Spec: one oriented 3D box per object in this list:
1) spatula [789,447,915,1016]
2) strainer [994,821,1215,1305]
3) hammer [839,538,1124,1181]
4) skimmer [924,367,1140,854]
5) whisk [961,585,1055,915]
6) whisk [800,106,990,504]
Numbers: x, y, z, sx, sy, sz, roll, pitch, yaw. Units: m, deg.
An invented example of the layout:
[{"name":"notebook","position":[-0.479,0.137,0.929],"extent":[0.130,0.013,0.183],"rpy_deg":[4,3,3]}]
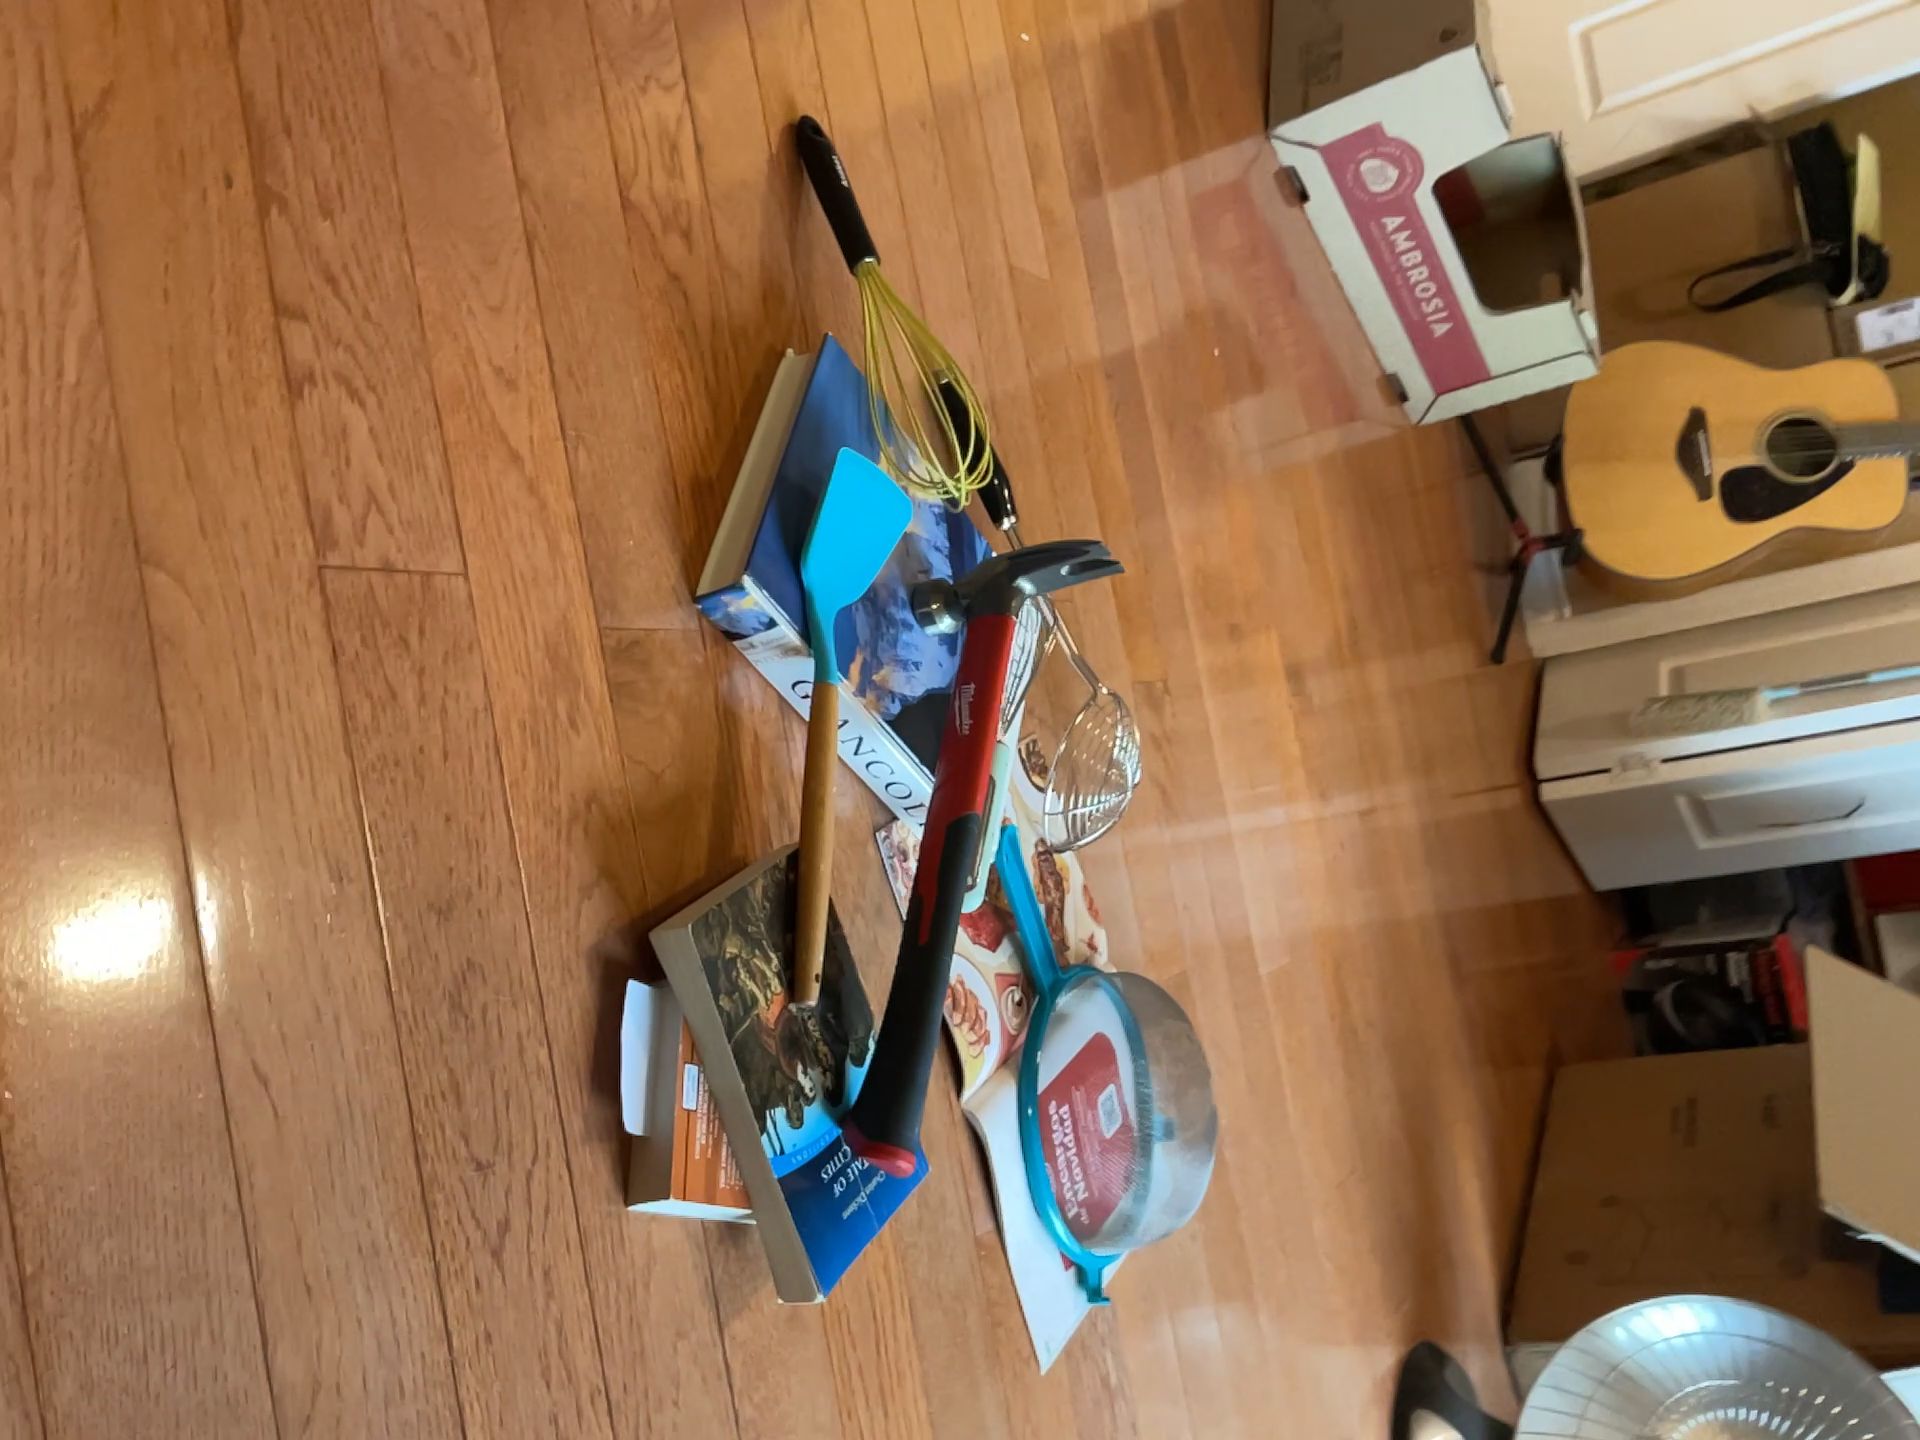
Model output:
[{"name":"spatula","position":[-0.069,0.004,0.877],"extent":[0.082,0.044,0.318],"rpy_deg":[36,49,-51]},{"name":"strainer","position":[0.107,0.219,1.099],"extent":[0.211,0.095,0.340],"rpy_deg":[-48,126,-55]},{"name":"hammer","position":[0.005,0.064,0.901],"extent":[0.038,0.143,0.387],"rpy_deg":[42,47,-41]},{"name":"skimmer","position":[0.037,-0.080,1.184],"extent":[0.127,0.090,0.363],"rpy_deg":[-27,91,-57]},{"name":"whisk","position":[0.020,0.012,1.035],"extent":[0.059,0.057,0.247],"rpy_deg":[88,12,-61]},{"name":"whisk","position":[-0.054,-0.276,1.042],"extent":[0.080,0.067,0.312],"rpy_deg":[-4,67,-45]}]
